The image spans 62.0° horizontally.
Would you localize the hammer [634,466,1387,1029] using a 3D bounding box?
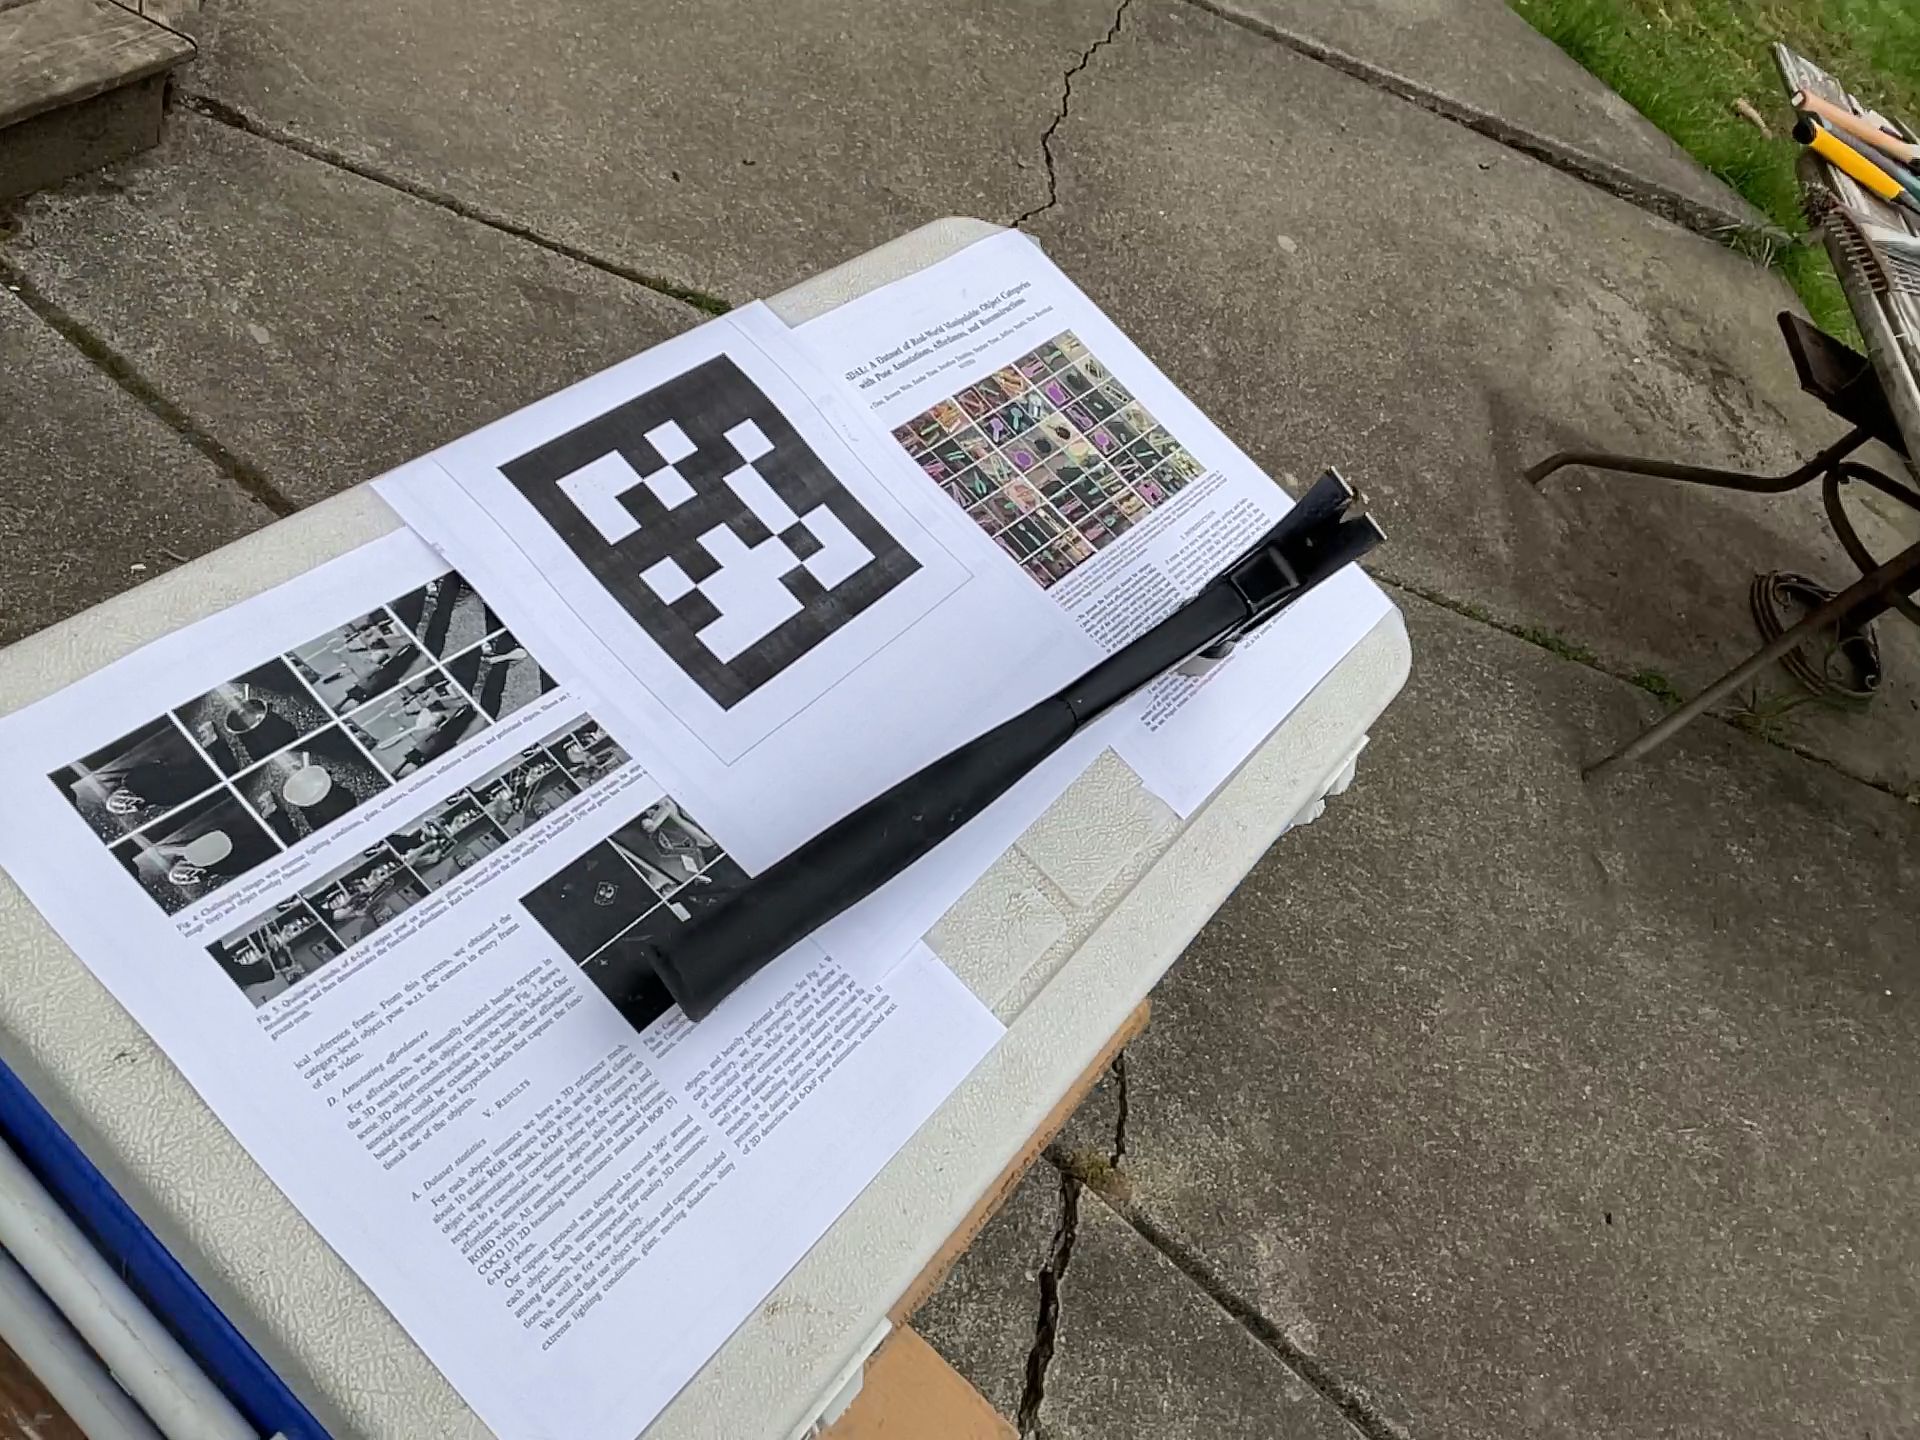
[{"bbox_3d":[0.024,0.008,0.581,0.334,0.146,0.035,-33,84,-33],"label":"hammer"}]
